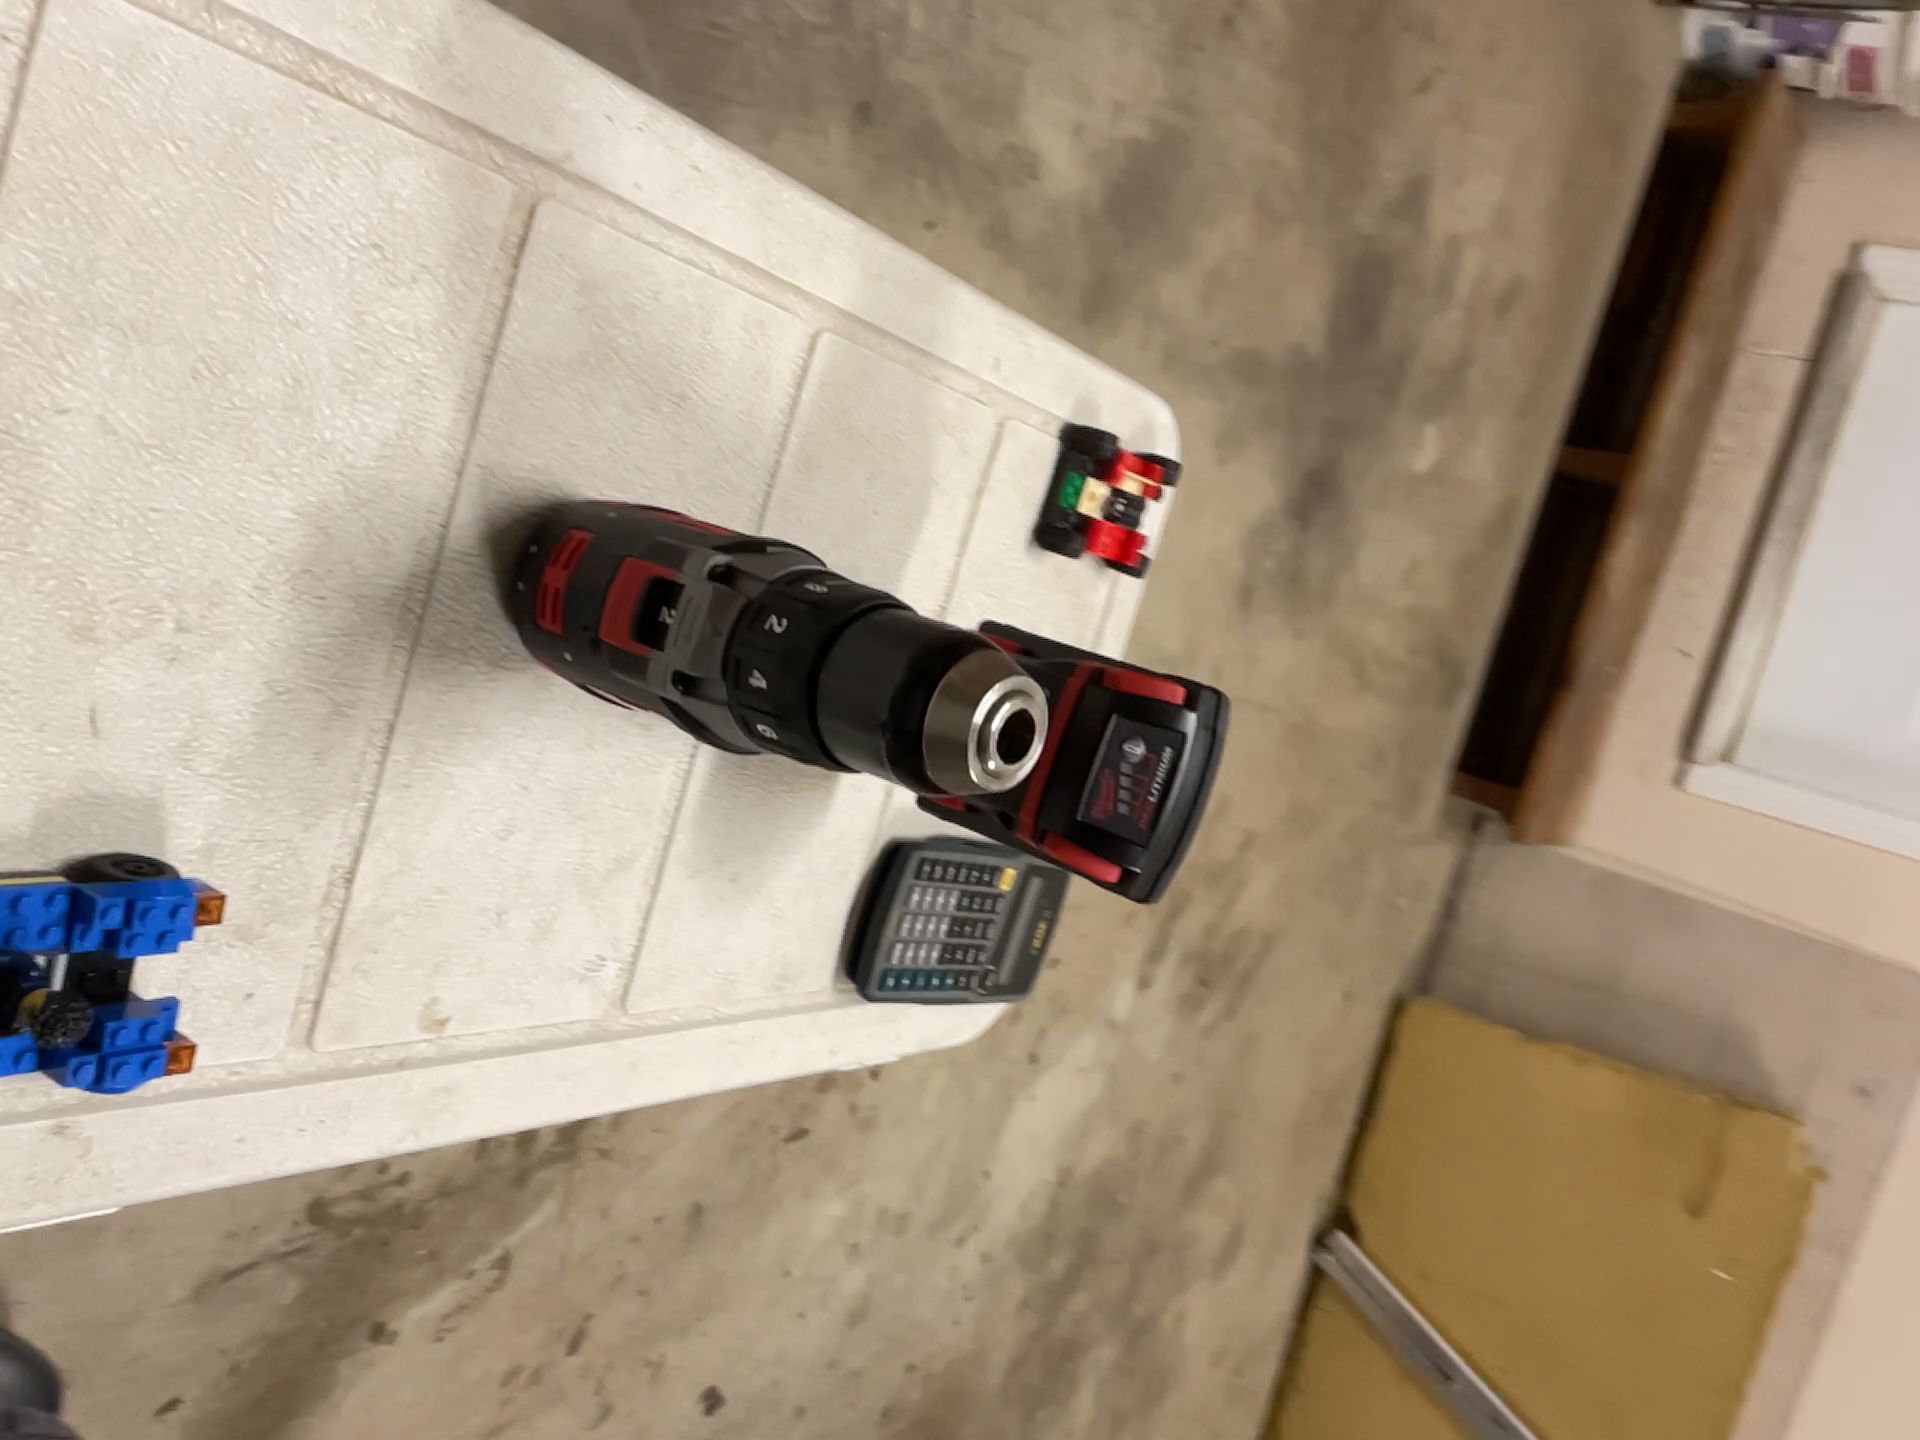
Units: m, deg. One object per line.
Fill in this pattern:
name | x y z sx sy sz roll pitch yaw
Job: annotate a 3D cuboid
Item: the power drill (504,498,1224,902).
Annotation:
power drill | -0.006 -0.002 0.499 0.226 0.188 0.080 19 90 -50
